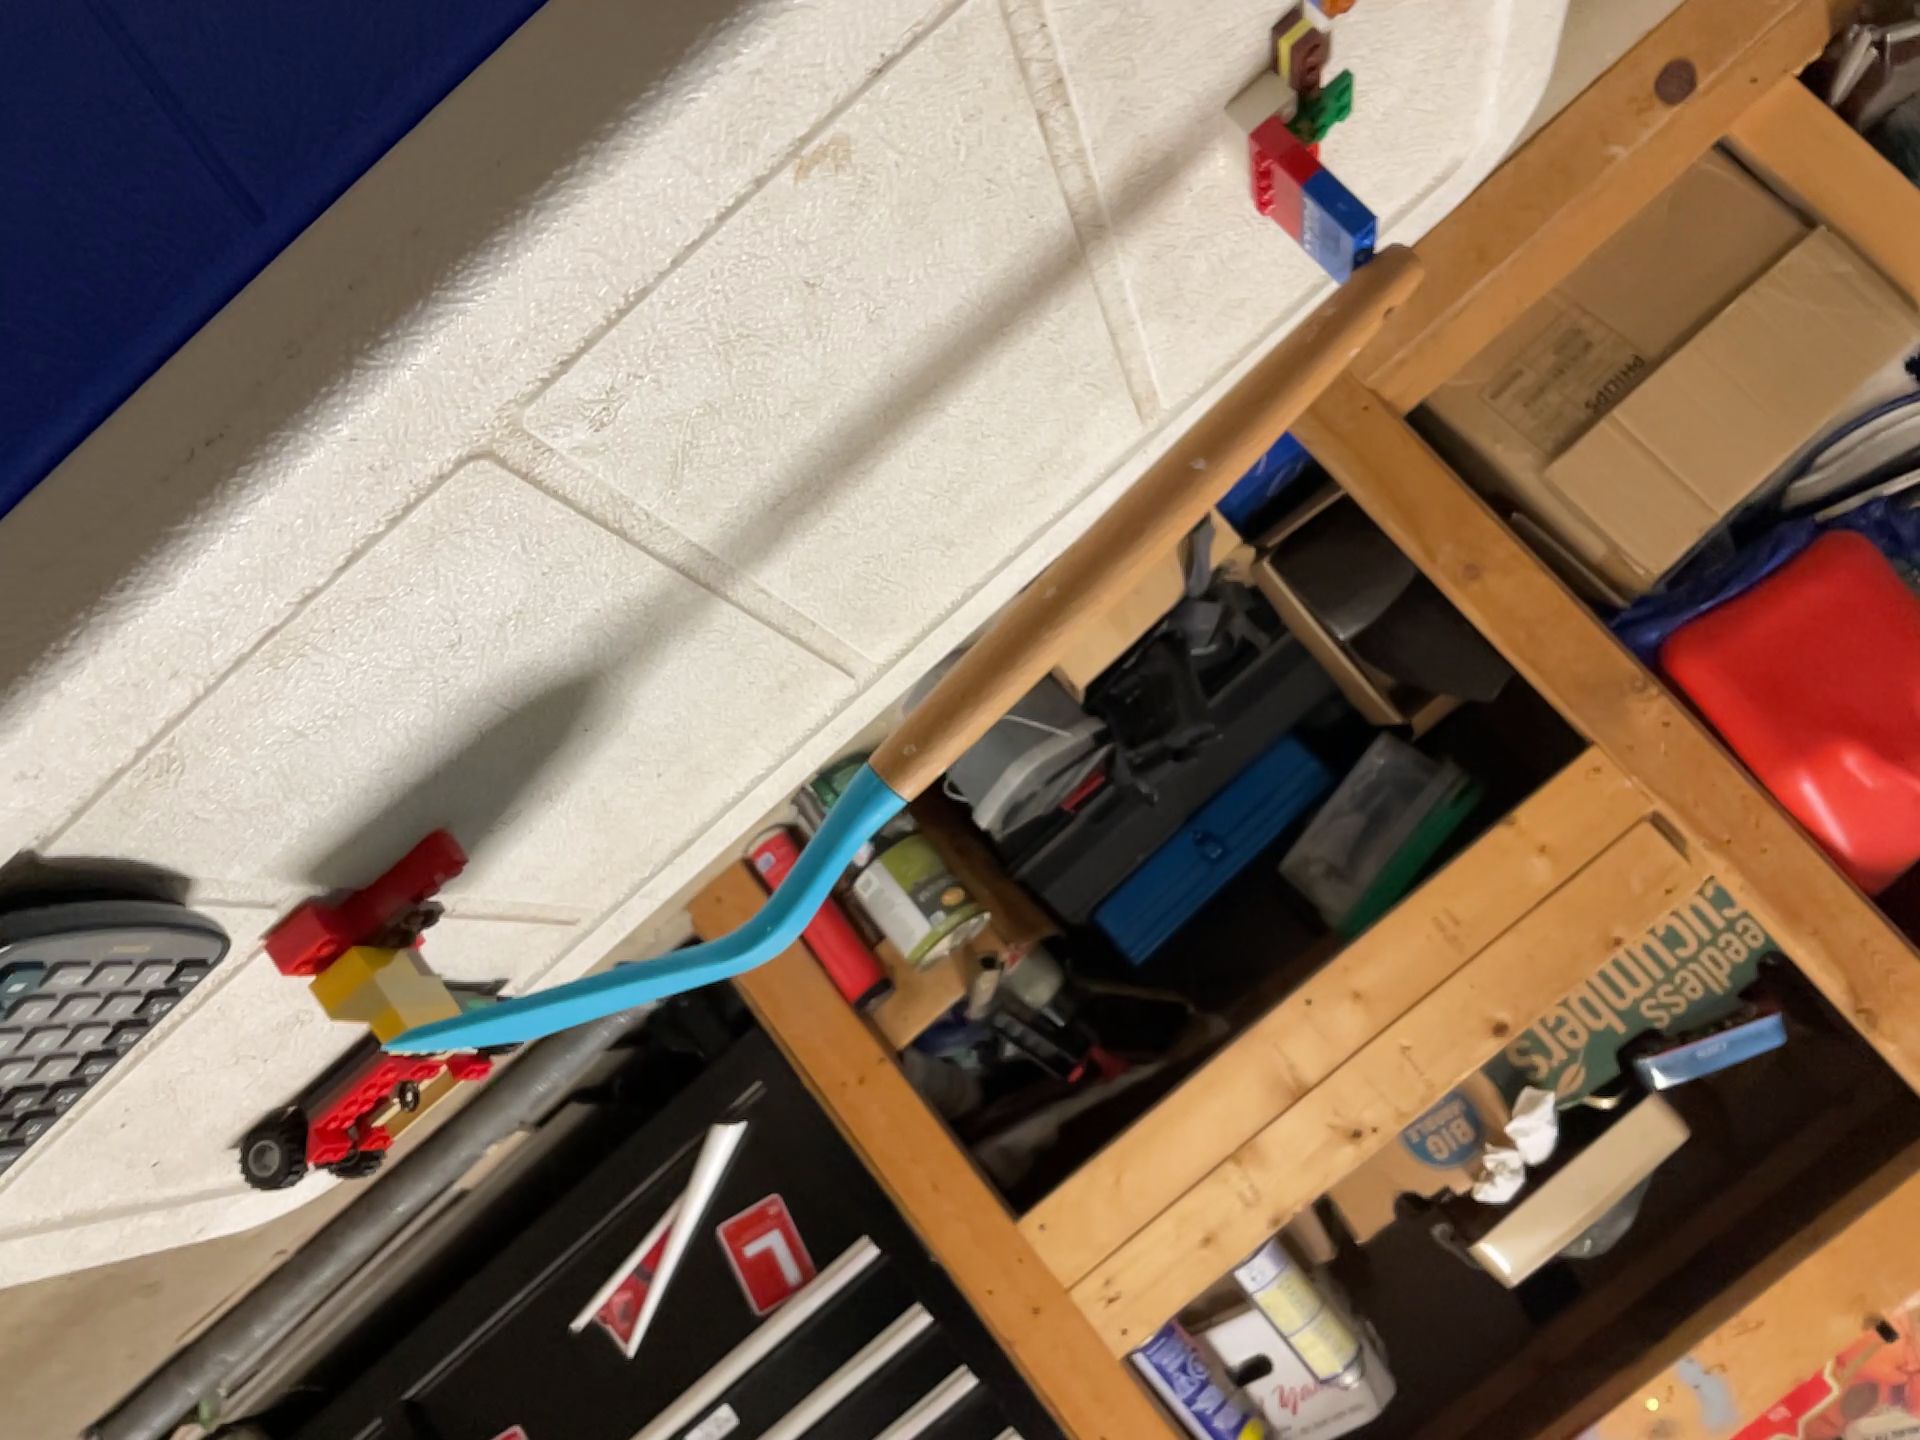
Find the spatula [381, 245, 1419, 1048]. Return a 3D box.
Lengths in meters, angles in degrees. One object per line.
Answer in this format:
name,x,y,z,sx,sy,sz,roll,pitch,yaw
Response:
spatula,-0.008,-0.011,0.410,0.317,0.044,0.082,-45,164,3
